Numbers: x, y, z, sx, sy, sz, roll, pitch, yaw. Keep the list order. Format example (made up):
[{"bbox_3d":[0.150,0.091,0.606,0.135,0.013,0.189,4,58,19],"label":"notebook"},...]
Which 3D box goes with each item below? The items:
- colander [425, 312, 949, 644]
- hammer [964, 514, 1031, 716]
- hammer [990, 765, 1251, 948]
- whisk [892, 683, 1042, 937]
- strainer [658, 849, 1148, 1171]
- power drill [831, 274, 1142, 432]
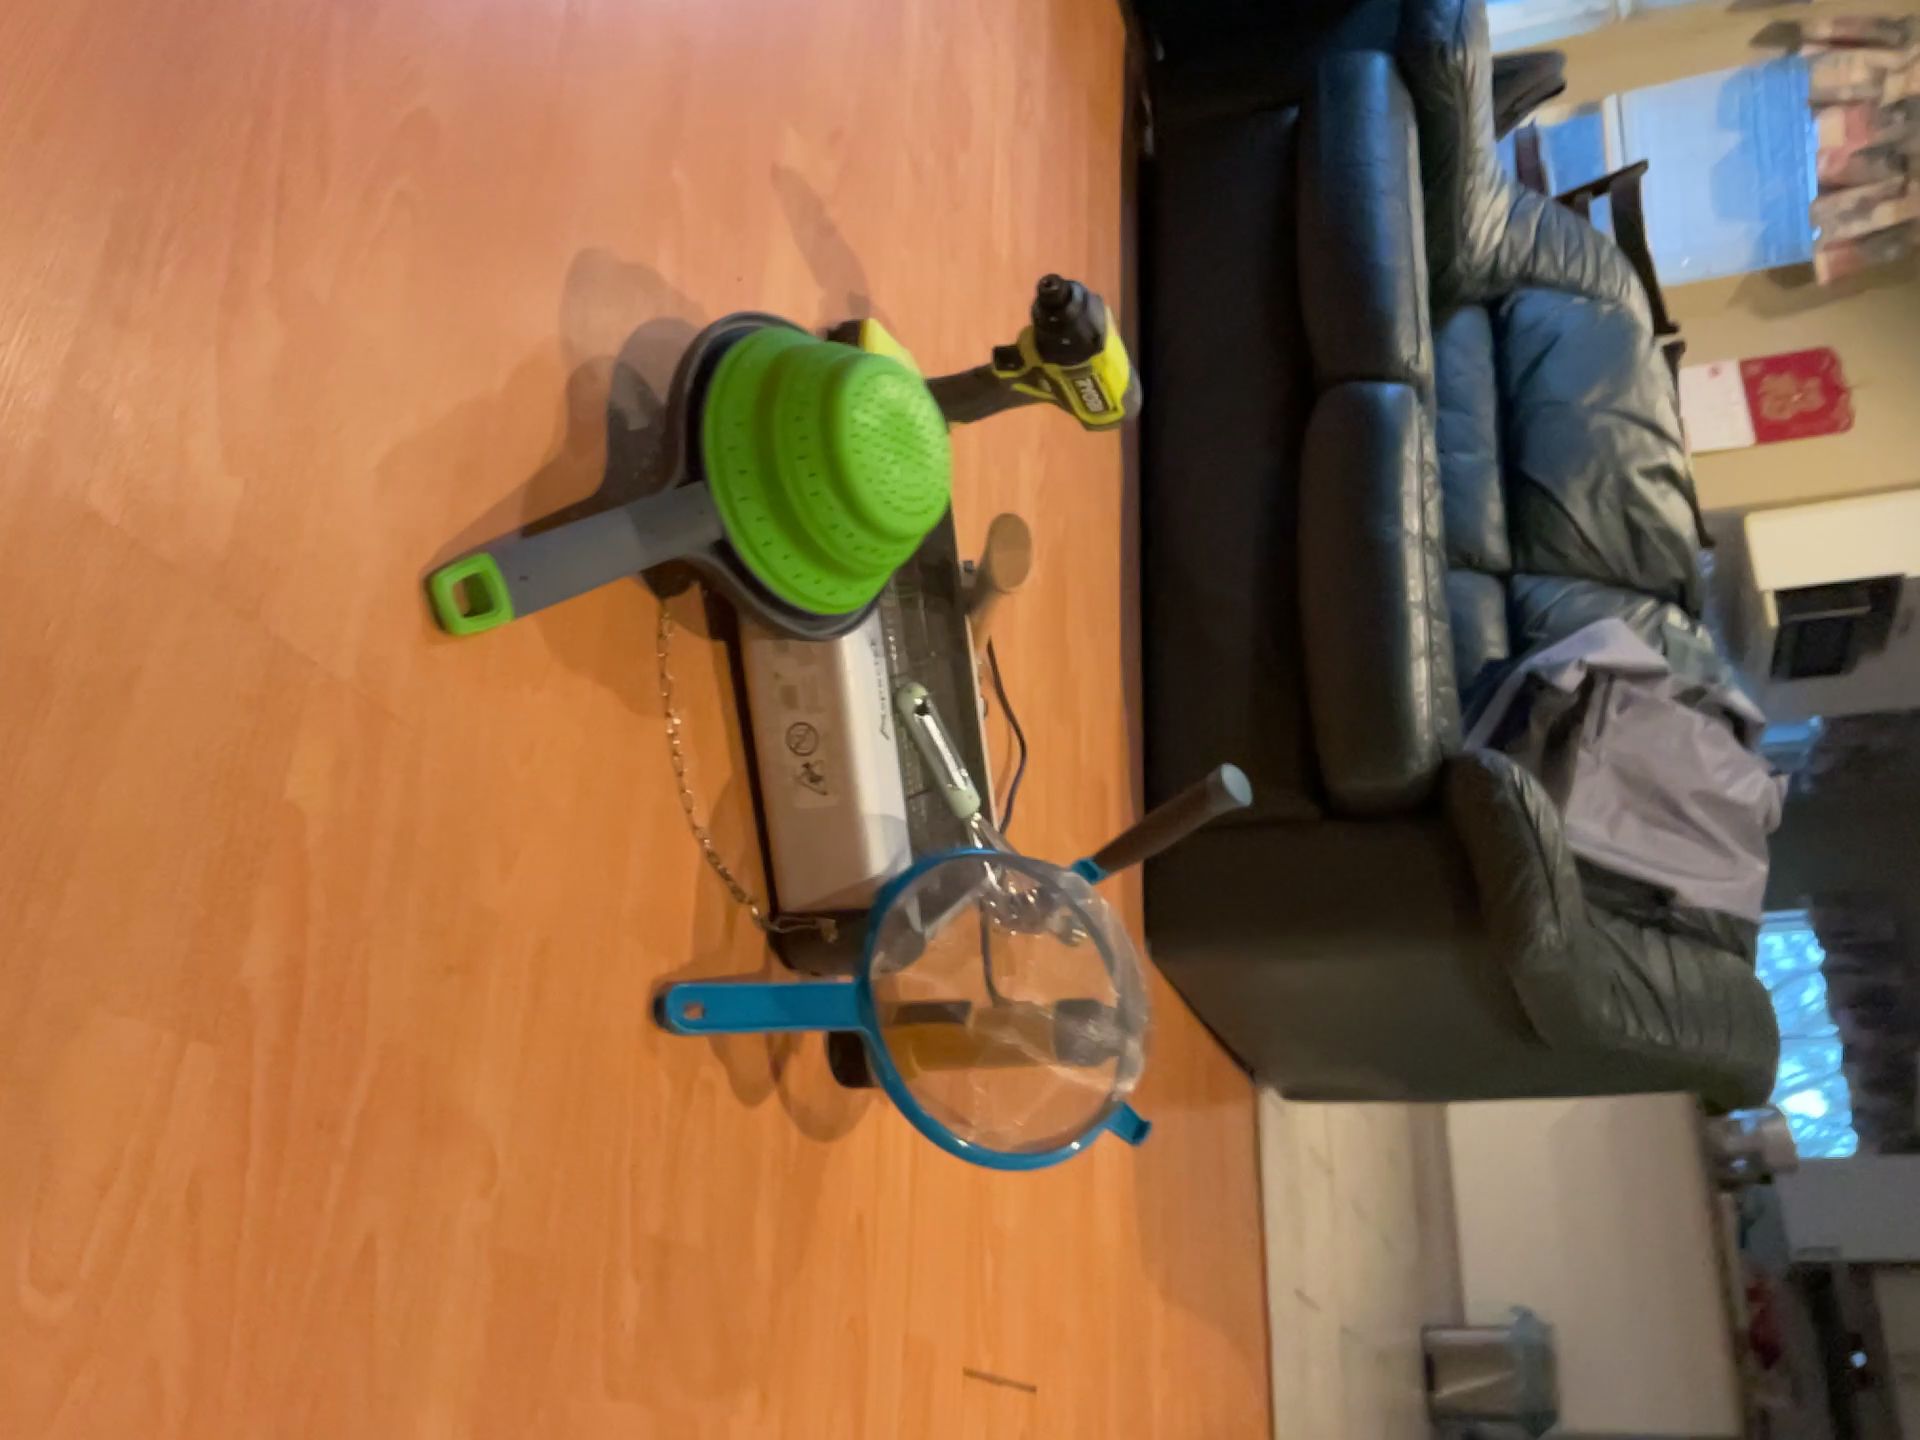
[{"bbox_3d":[-0.116,-0.125,0.891,0.397,0.094,0.204,-32,108,-51],"label":"colander"},{"bbox_3d":[0.015,-0.100,1.256,0.410,0.038,0.146,117,-30,-81],"label":"hammer"},{"bbox_3d":[0.139,0.119,1.400,0.128,0.330,0.033,22,54,-23],"label":"hammer"},{"bbox_3d":[0.005,0.068,1.142,0.058,0.059,0.246,-48,132,-27],"label":"whisk"},{"bbox_3d":[-0.008,0.162,0.969,0.340,0.095,0.211,6,63,-35],"label":"strainer"},{"bbox_3d":[0.016,-0.278,1.268,0.171,0.223,0.080,46,41,-60],"label":"power drill"}]
